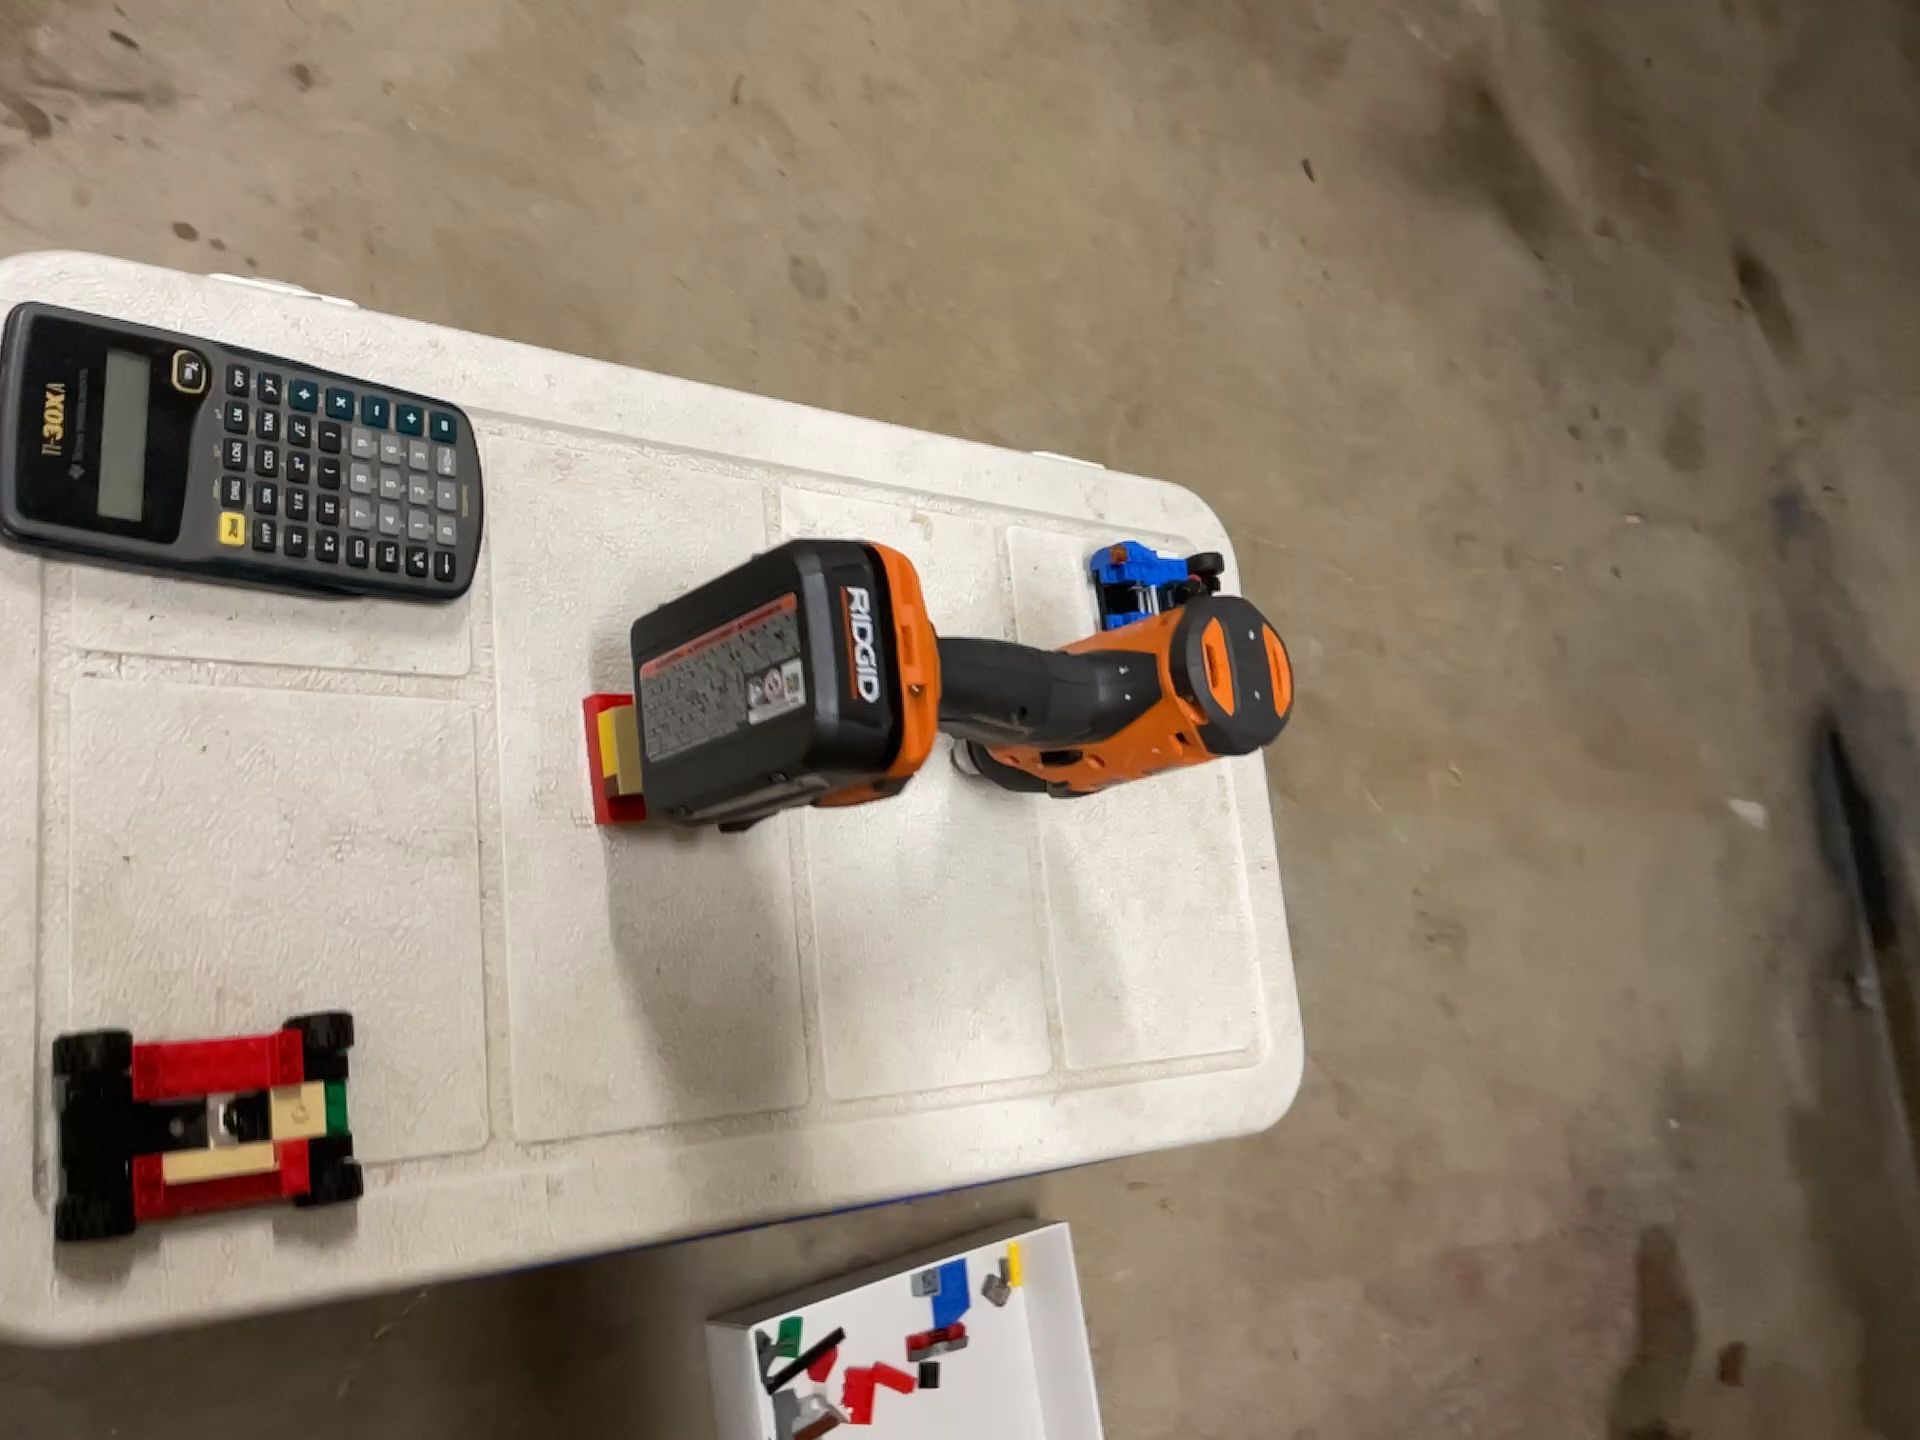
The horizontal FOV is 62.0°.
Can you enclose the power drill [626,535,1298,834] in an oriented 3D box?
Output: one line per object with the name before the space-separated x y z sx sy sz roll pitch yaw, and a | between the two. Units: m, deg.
power drill | -0.006 -0.004 0.597 0.226 0.164 0.084 2 75 -41
